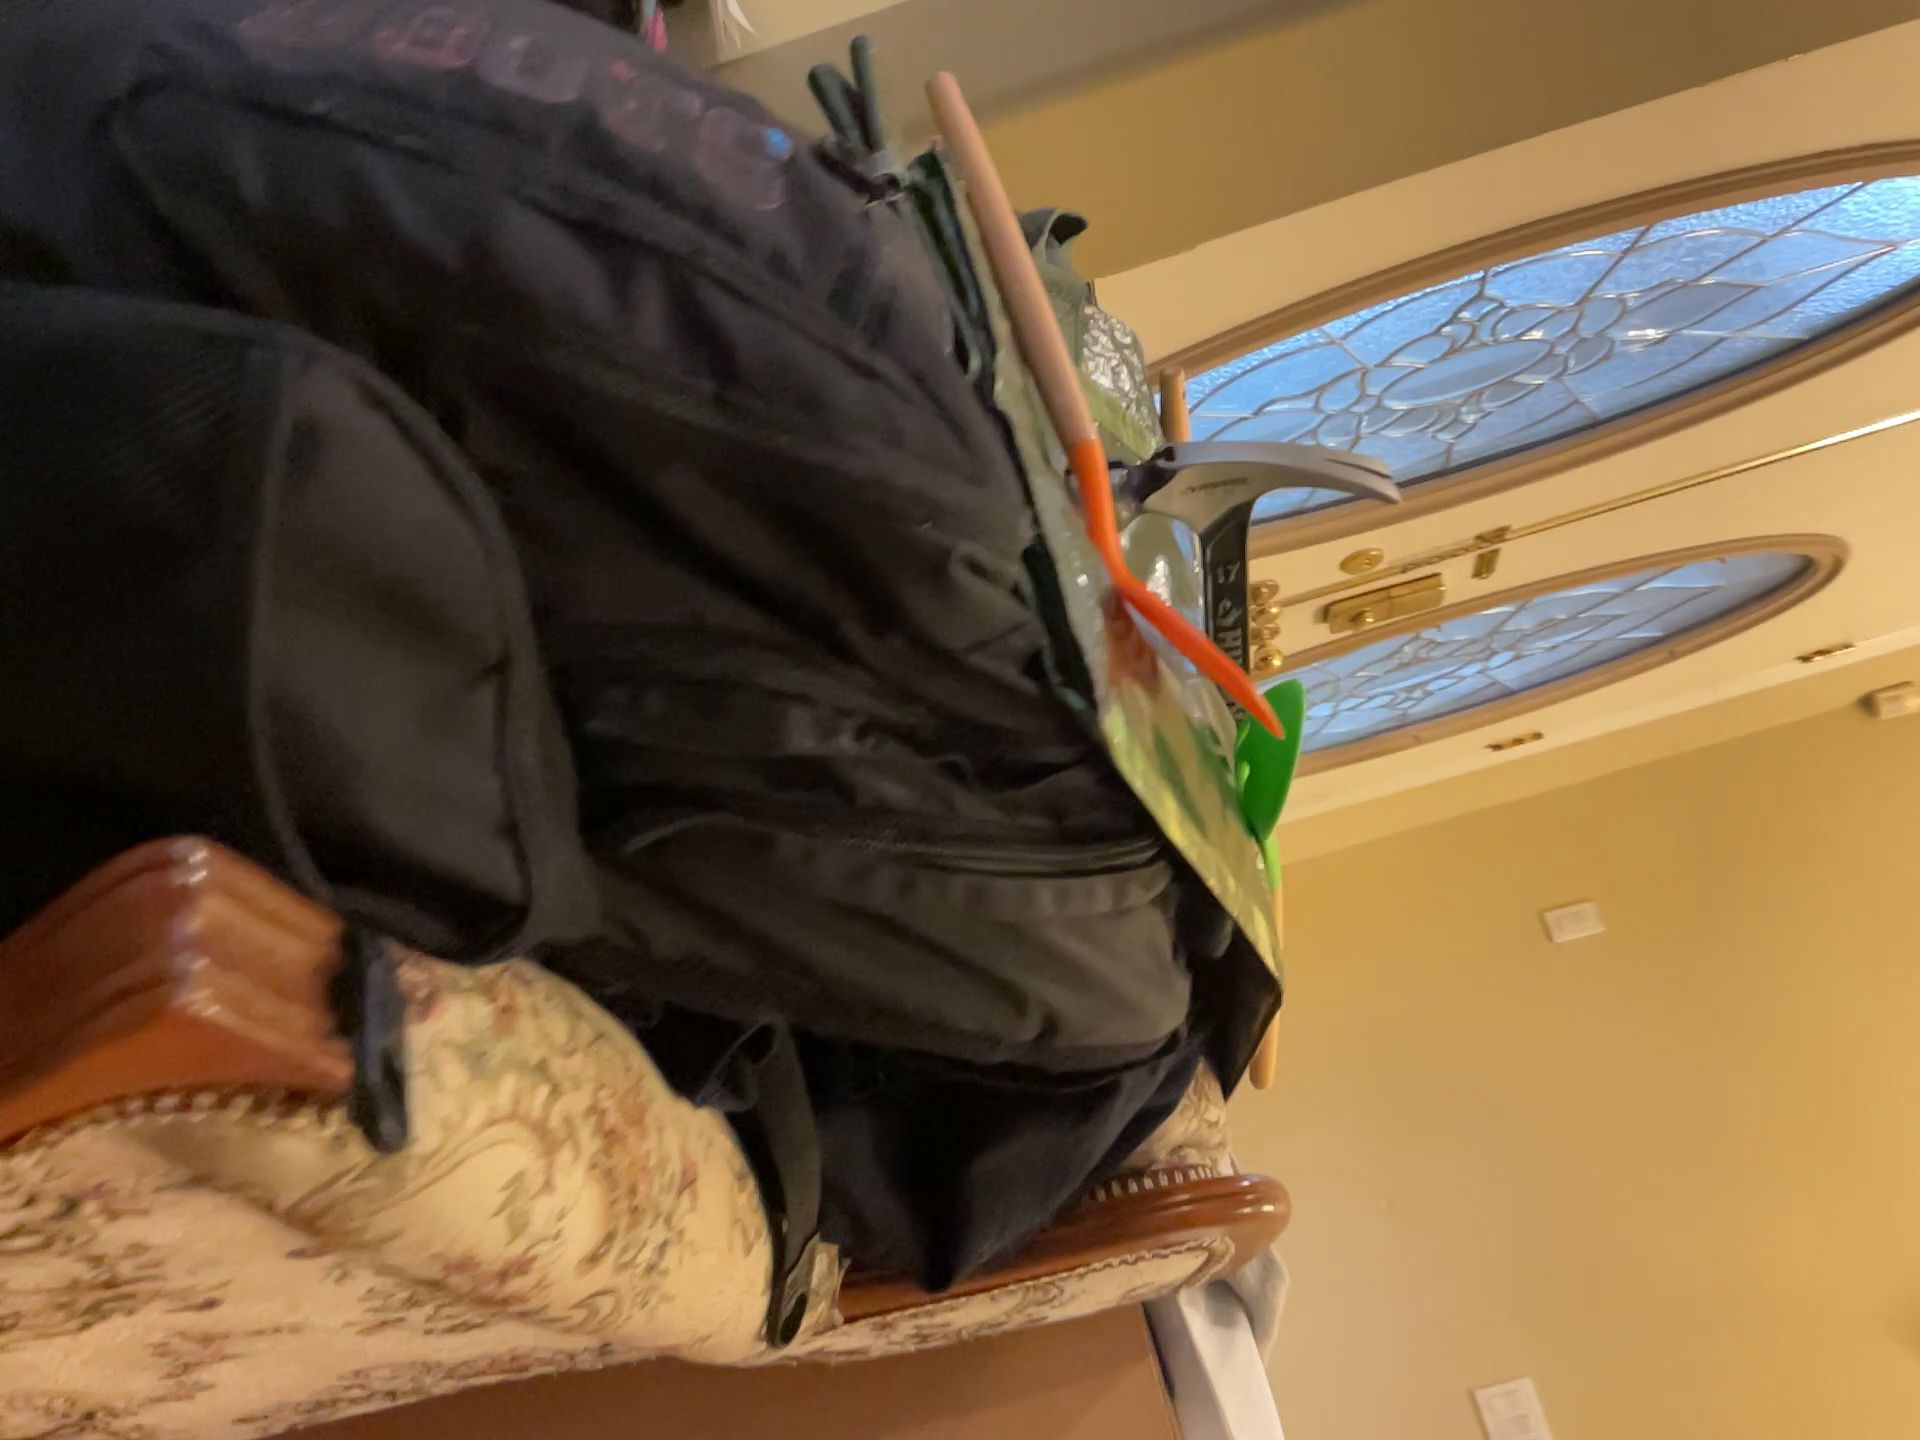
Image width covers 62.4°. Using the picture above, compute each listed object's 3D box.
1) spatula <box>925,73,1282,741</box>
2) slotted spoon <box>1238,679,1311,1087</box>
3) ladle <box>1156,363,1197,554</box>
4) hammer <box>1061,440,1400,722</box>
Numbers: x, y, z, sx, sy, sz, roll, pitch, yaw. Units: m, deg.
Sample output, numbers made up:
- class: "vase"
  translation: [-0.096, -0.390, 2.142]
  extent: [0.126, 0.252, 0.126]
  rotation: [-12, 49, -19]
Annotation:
- class: "spatula"
  translation: [0.049, -0.134, 0.639]
  extent: [0.081, 0.041, 0.323]
  rotation: [37, 32, -70]
- class: "slotted spoon"
  translation: [0.156, 0.100, 0.812]
  extent: [0.313, 0.031, 0.070]
  rotation: [82, 12, -45]
- class: "ladle"
  translation: [0.148, -0.074, 0.958]
  extent: [0.319, 0.062, 0.078]
  rotation: [78, 25, -43]
- class: "hammer"
  translation: [0.148, 0.023, 0.841]
  extent: [0.036, 0.149, 0.408]
  rotation: [-90, 171, -46]
